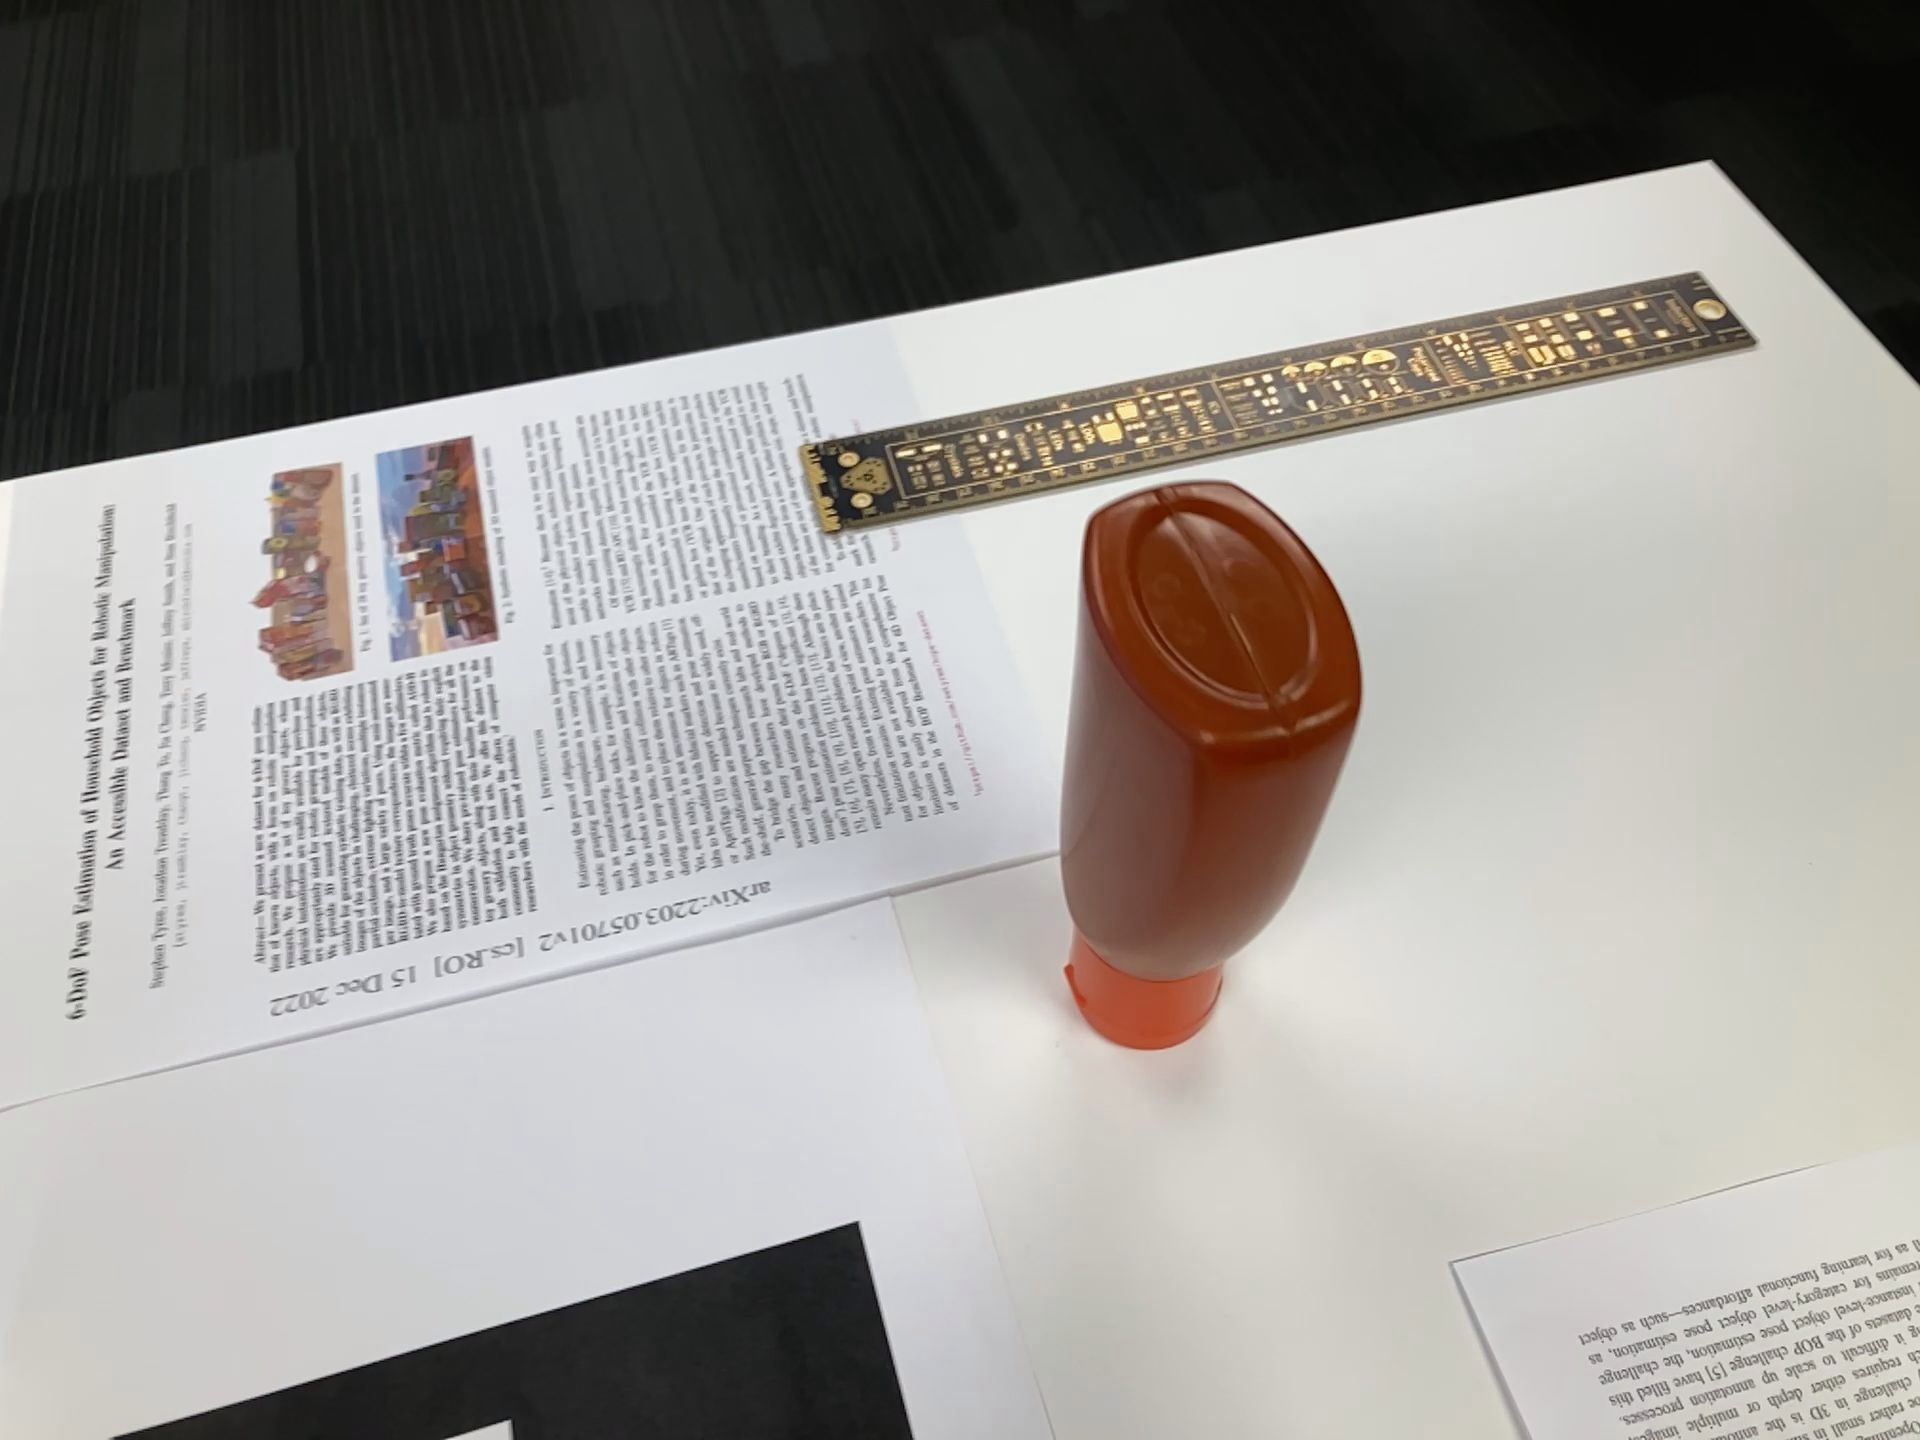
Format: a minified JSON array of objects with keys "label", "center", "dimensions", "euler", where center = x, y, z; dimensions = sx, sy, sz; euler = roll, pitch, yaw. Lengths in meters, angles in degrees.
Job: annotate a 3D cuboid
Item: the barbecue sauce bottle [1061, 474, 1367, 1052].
[{"label":"barbecue sauce bottle","center":[0.045,0.022,0.330],"dimensions":[0.043,0.148,0.065],"euler":[-14,55,-10]}]
